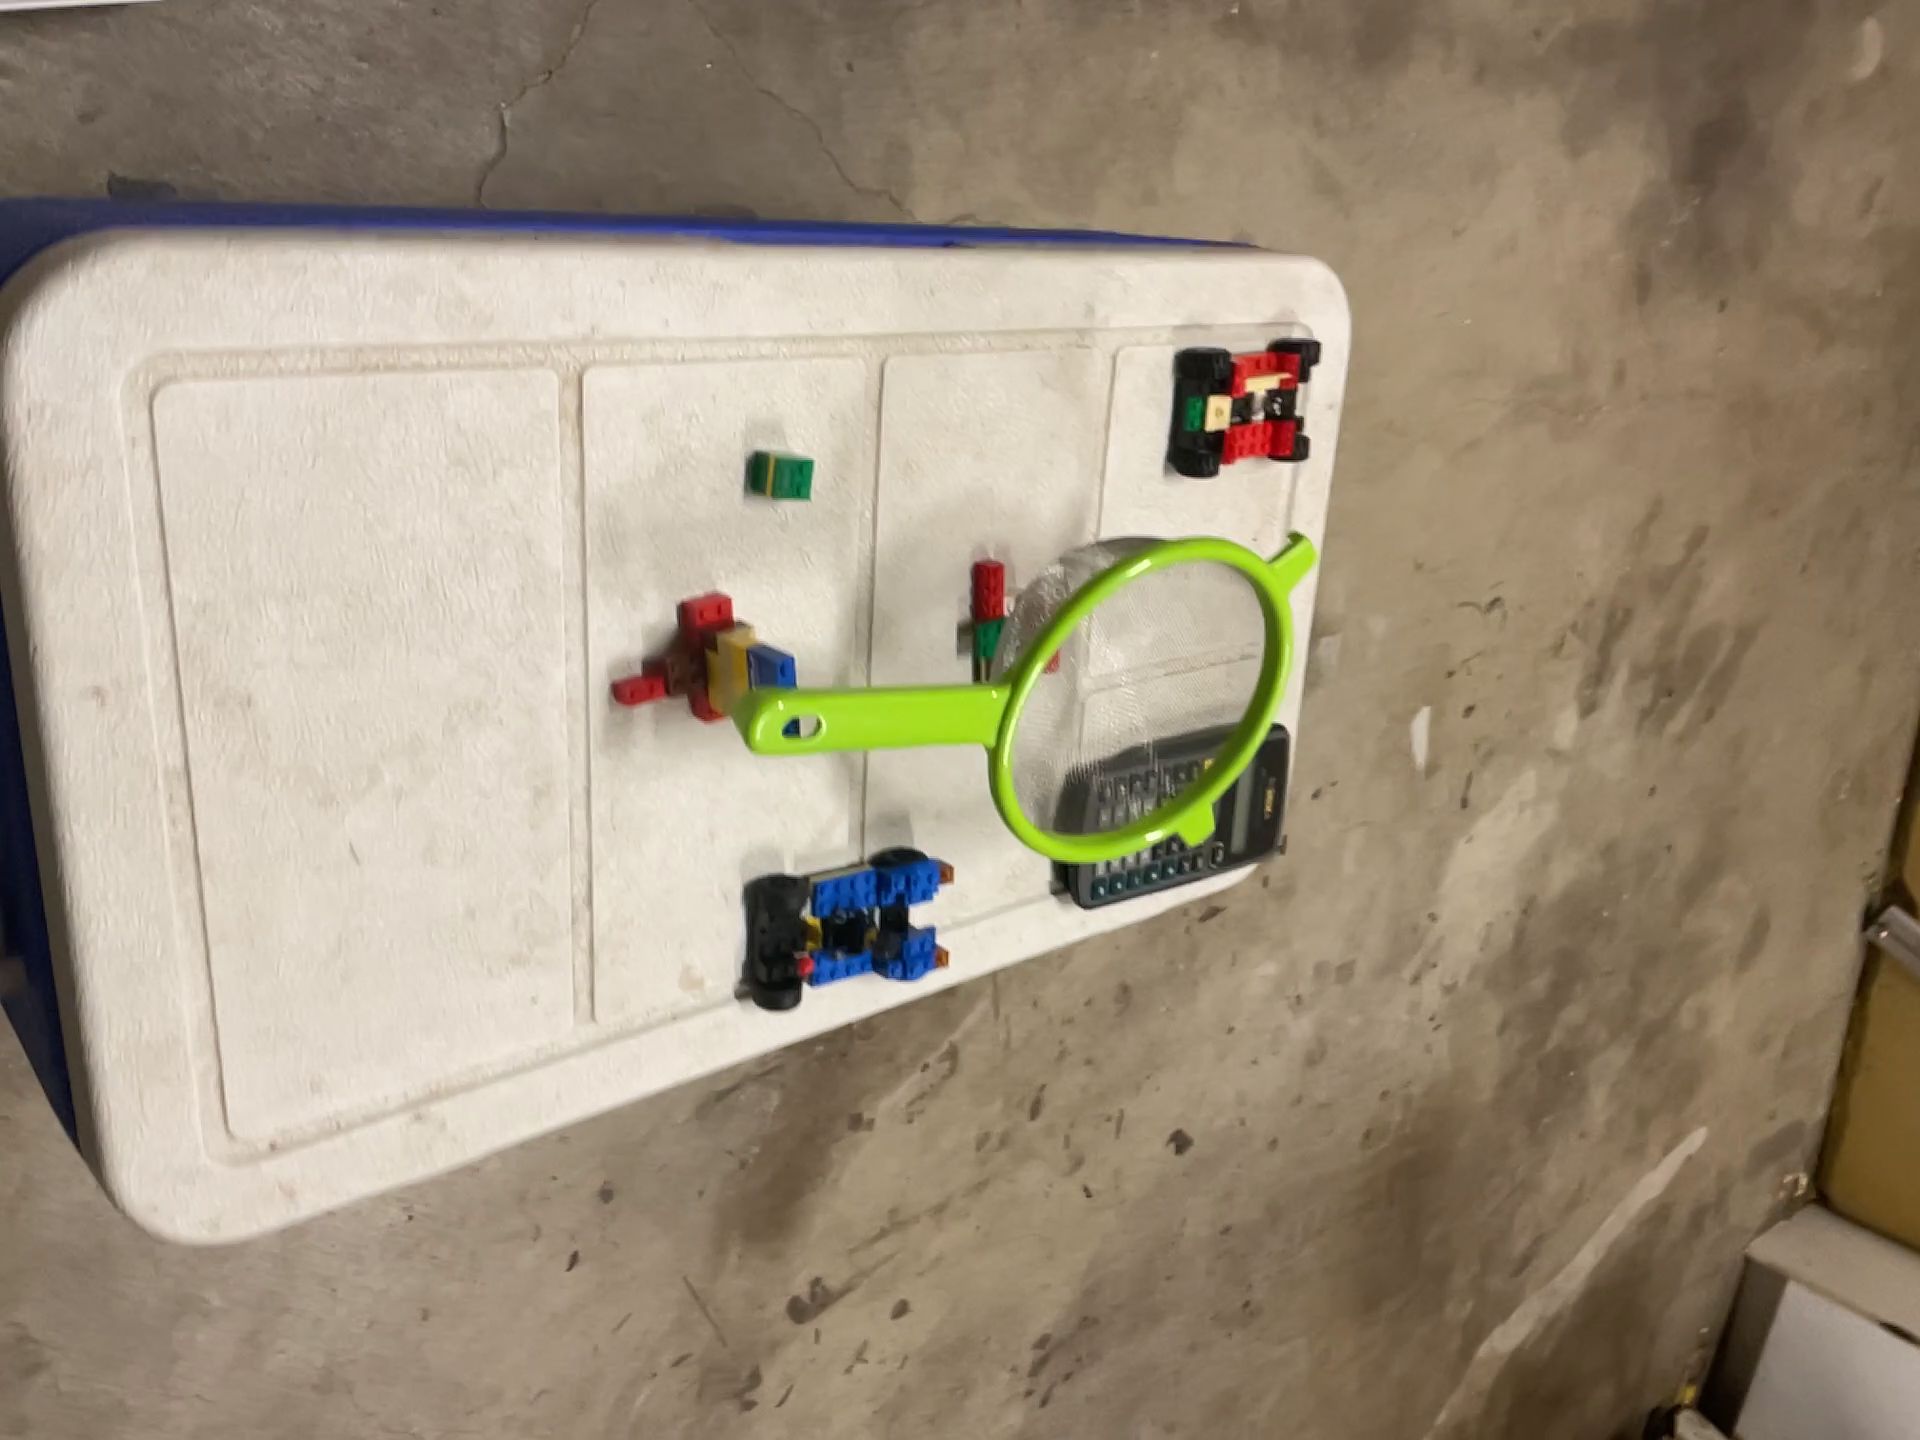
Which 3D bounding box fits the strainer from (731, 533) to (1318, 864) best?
[{"bbox_3d":[0.018,-0.016,0.643,0.256,0.069,0.151,-3,122,-34],"label":"strainer"}]
